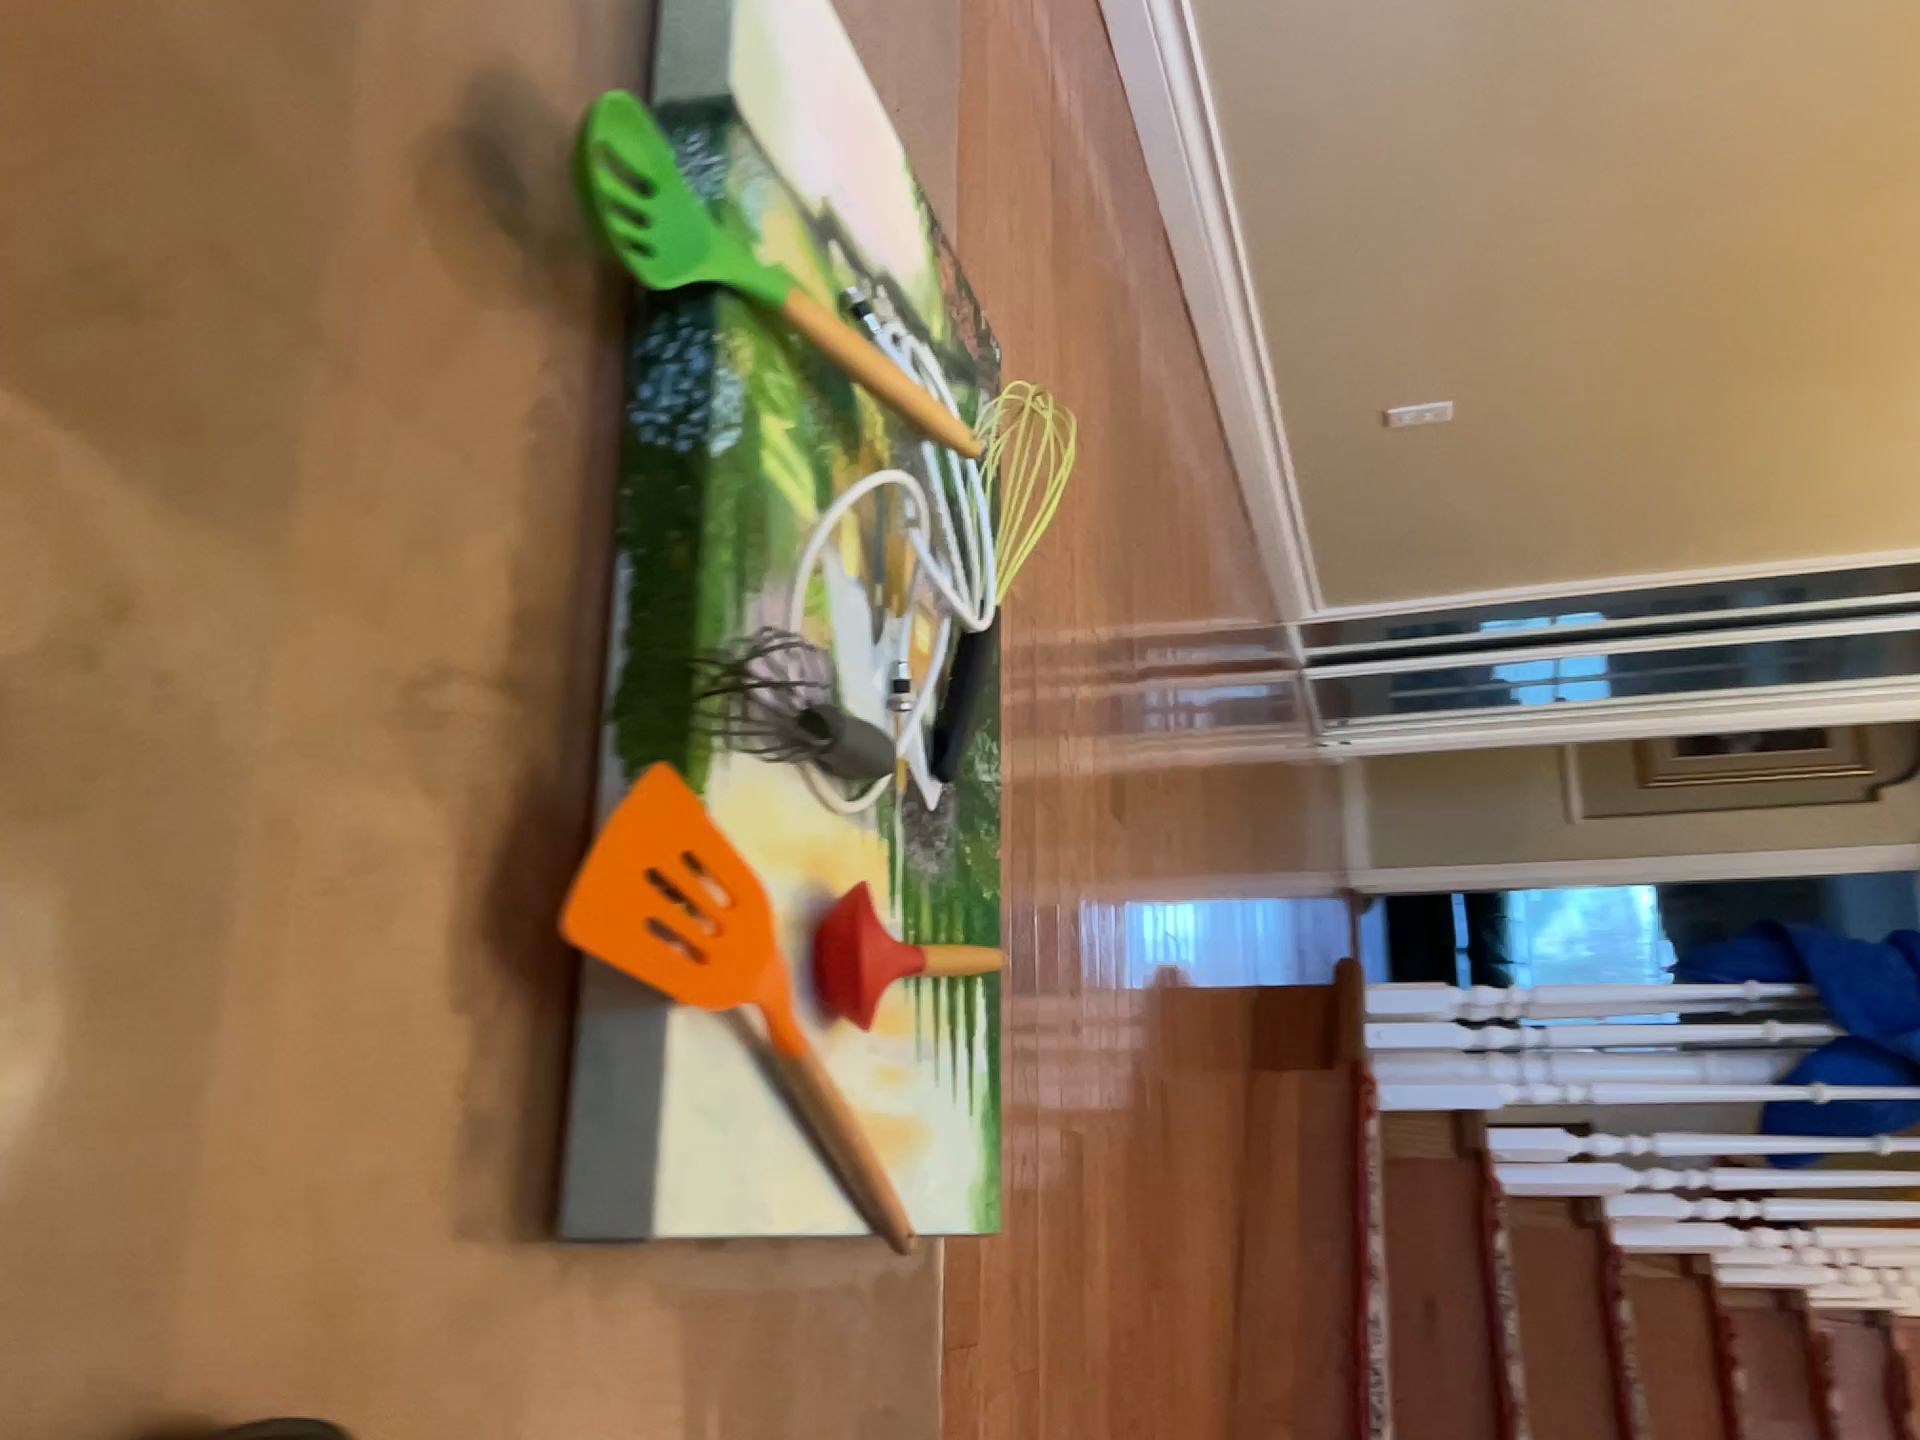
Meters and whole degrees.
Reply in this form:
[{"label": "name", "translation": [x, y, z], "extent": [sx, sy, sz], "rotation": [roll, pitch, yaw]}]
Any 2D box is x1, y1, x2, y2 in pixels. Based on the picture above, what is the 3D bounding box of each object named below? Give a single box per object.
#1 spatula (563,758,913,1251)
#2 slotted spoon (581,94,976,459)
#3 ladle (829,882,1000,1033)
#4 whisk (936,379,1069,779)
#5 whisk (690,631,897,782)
[{"label": "spatula", "translation": [-0.073, 0.148, 0.672], "extent": [0.322, 0.041, 0.081], "rotation": [71, 32, -45]}, {"label": "slotted spoon", "translation": [-0.070, -0.179, 0.721], "extent": [0.313, 0.031, 0.070], "rotation": [25, 60, -59]}, {"label": "ladle", "translation": [-0.016, 0.127, 0.846], "extent": [0.315, 0.031, 0.069], "rotation": [32, 56, -74]}, {"label": "whisk", "translation": [0.019, -0.096, 0.999], "extent": [0.079, 0.067, 0.312], "rotation": [58, 37, -49]}, {"label": "whisk", "translation": [-0.060, 0.003, 0.693], "extent": [0.238, 0.055, 0.055], "rotation": [40, 57, -77]}]
